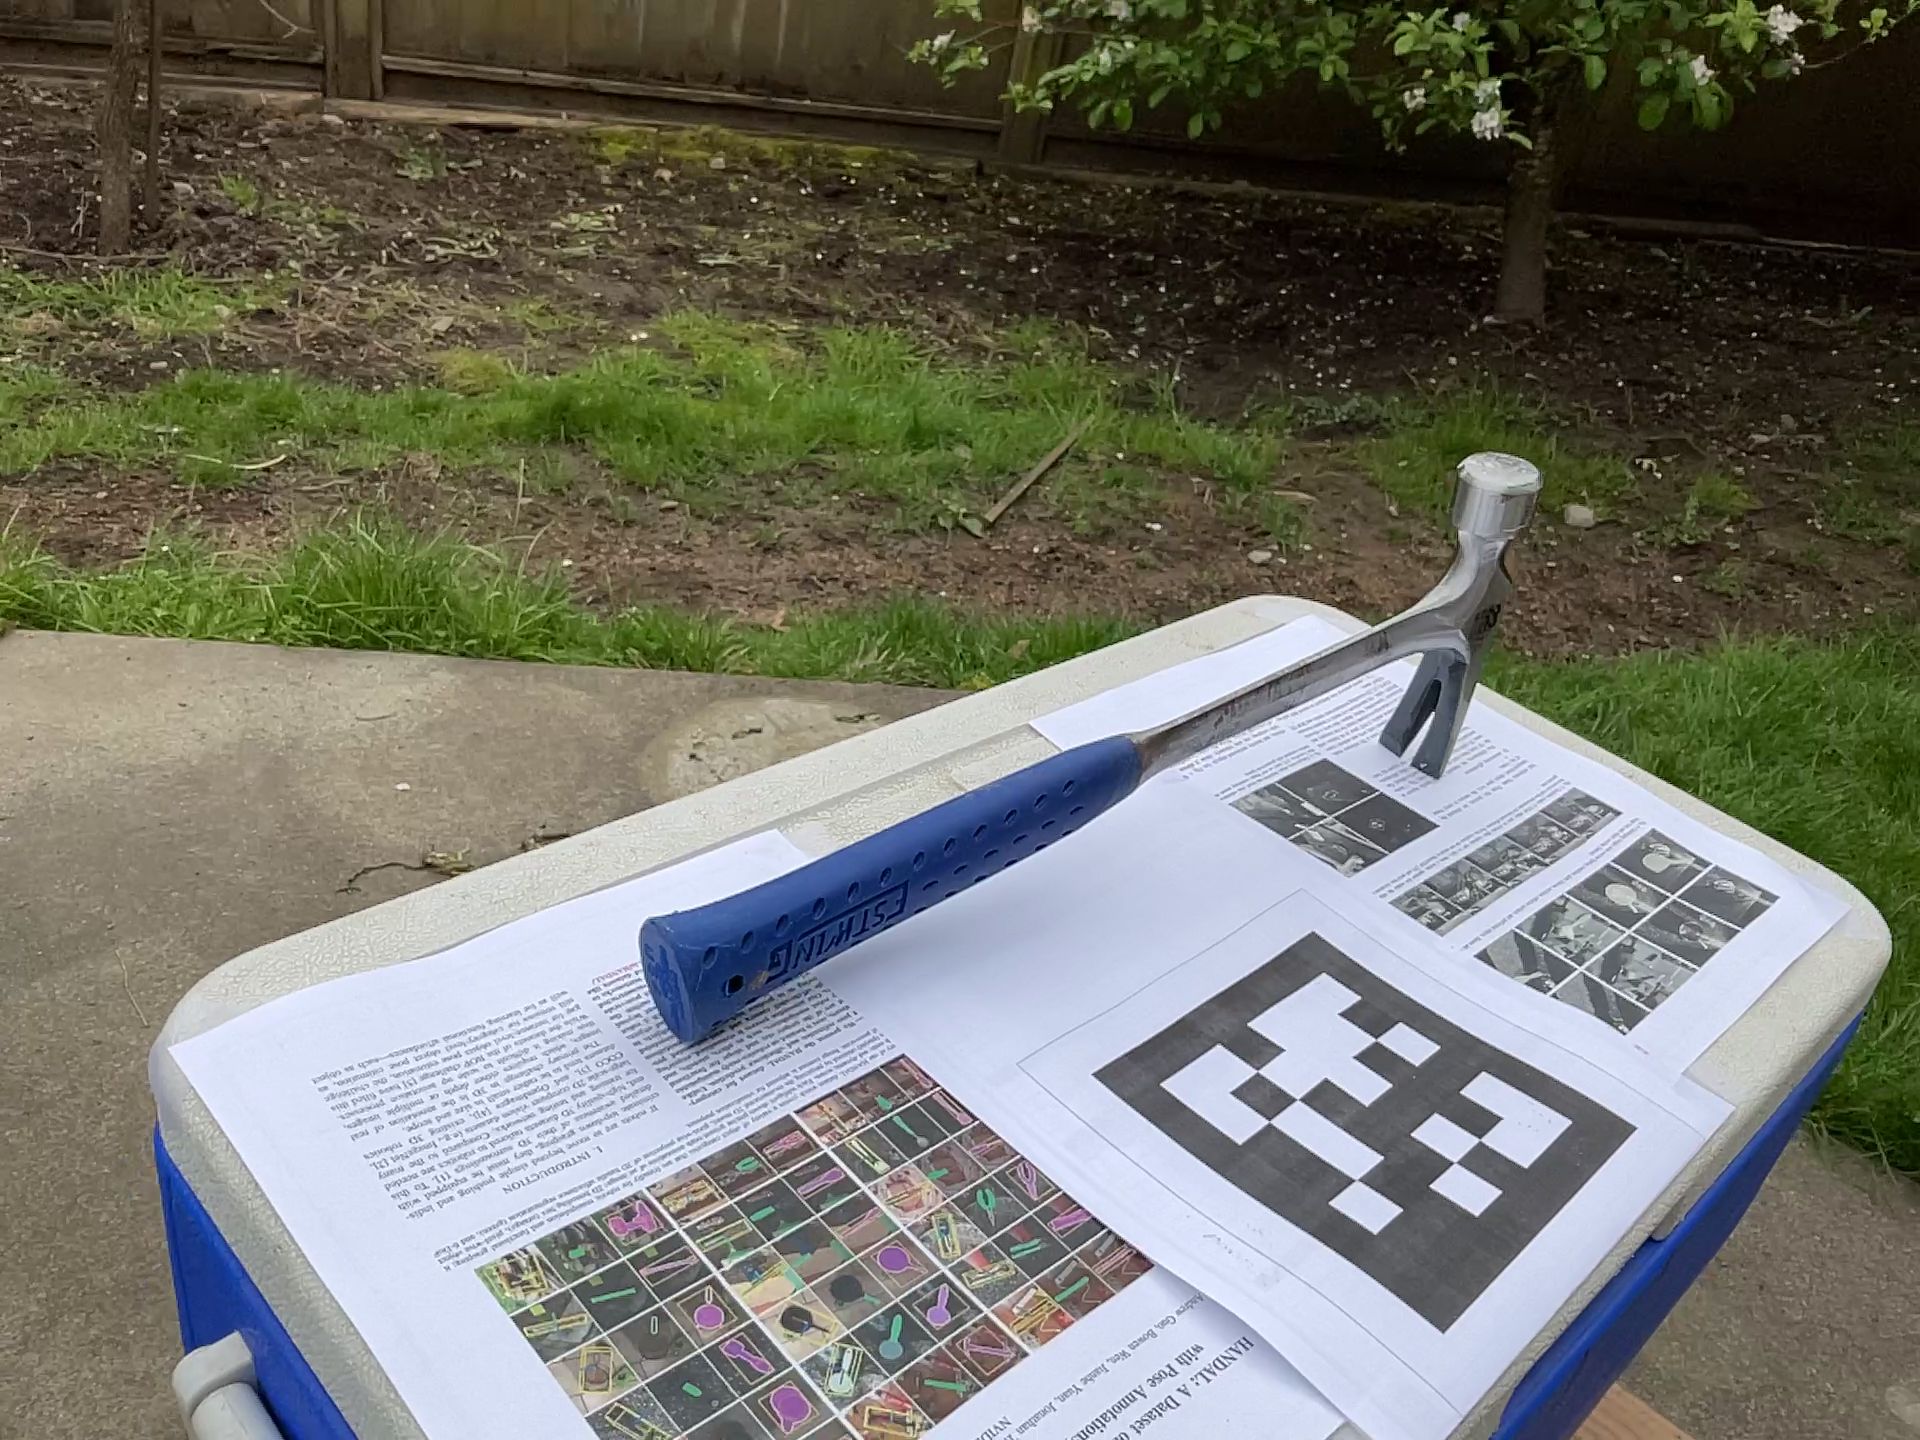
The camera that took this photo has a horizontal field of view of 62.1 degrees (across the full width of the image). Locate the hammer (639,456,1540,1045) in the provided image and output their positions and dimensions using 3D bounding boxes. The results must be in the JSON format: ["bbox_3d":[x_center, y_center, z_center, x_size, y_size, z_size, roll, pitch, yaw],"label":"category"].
[{"bbox_3d":[0.070,0.019,0.594,0.405,0.144,0.035,-23,42,-31],"label":"hammer"}]
